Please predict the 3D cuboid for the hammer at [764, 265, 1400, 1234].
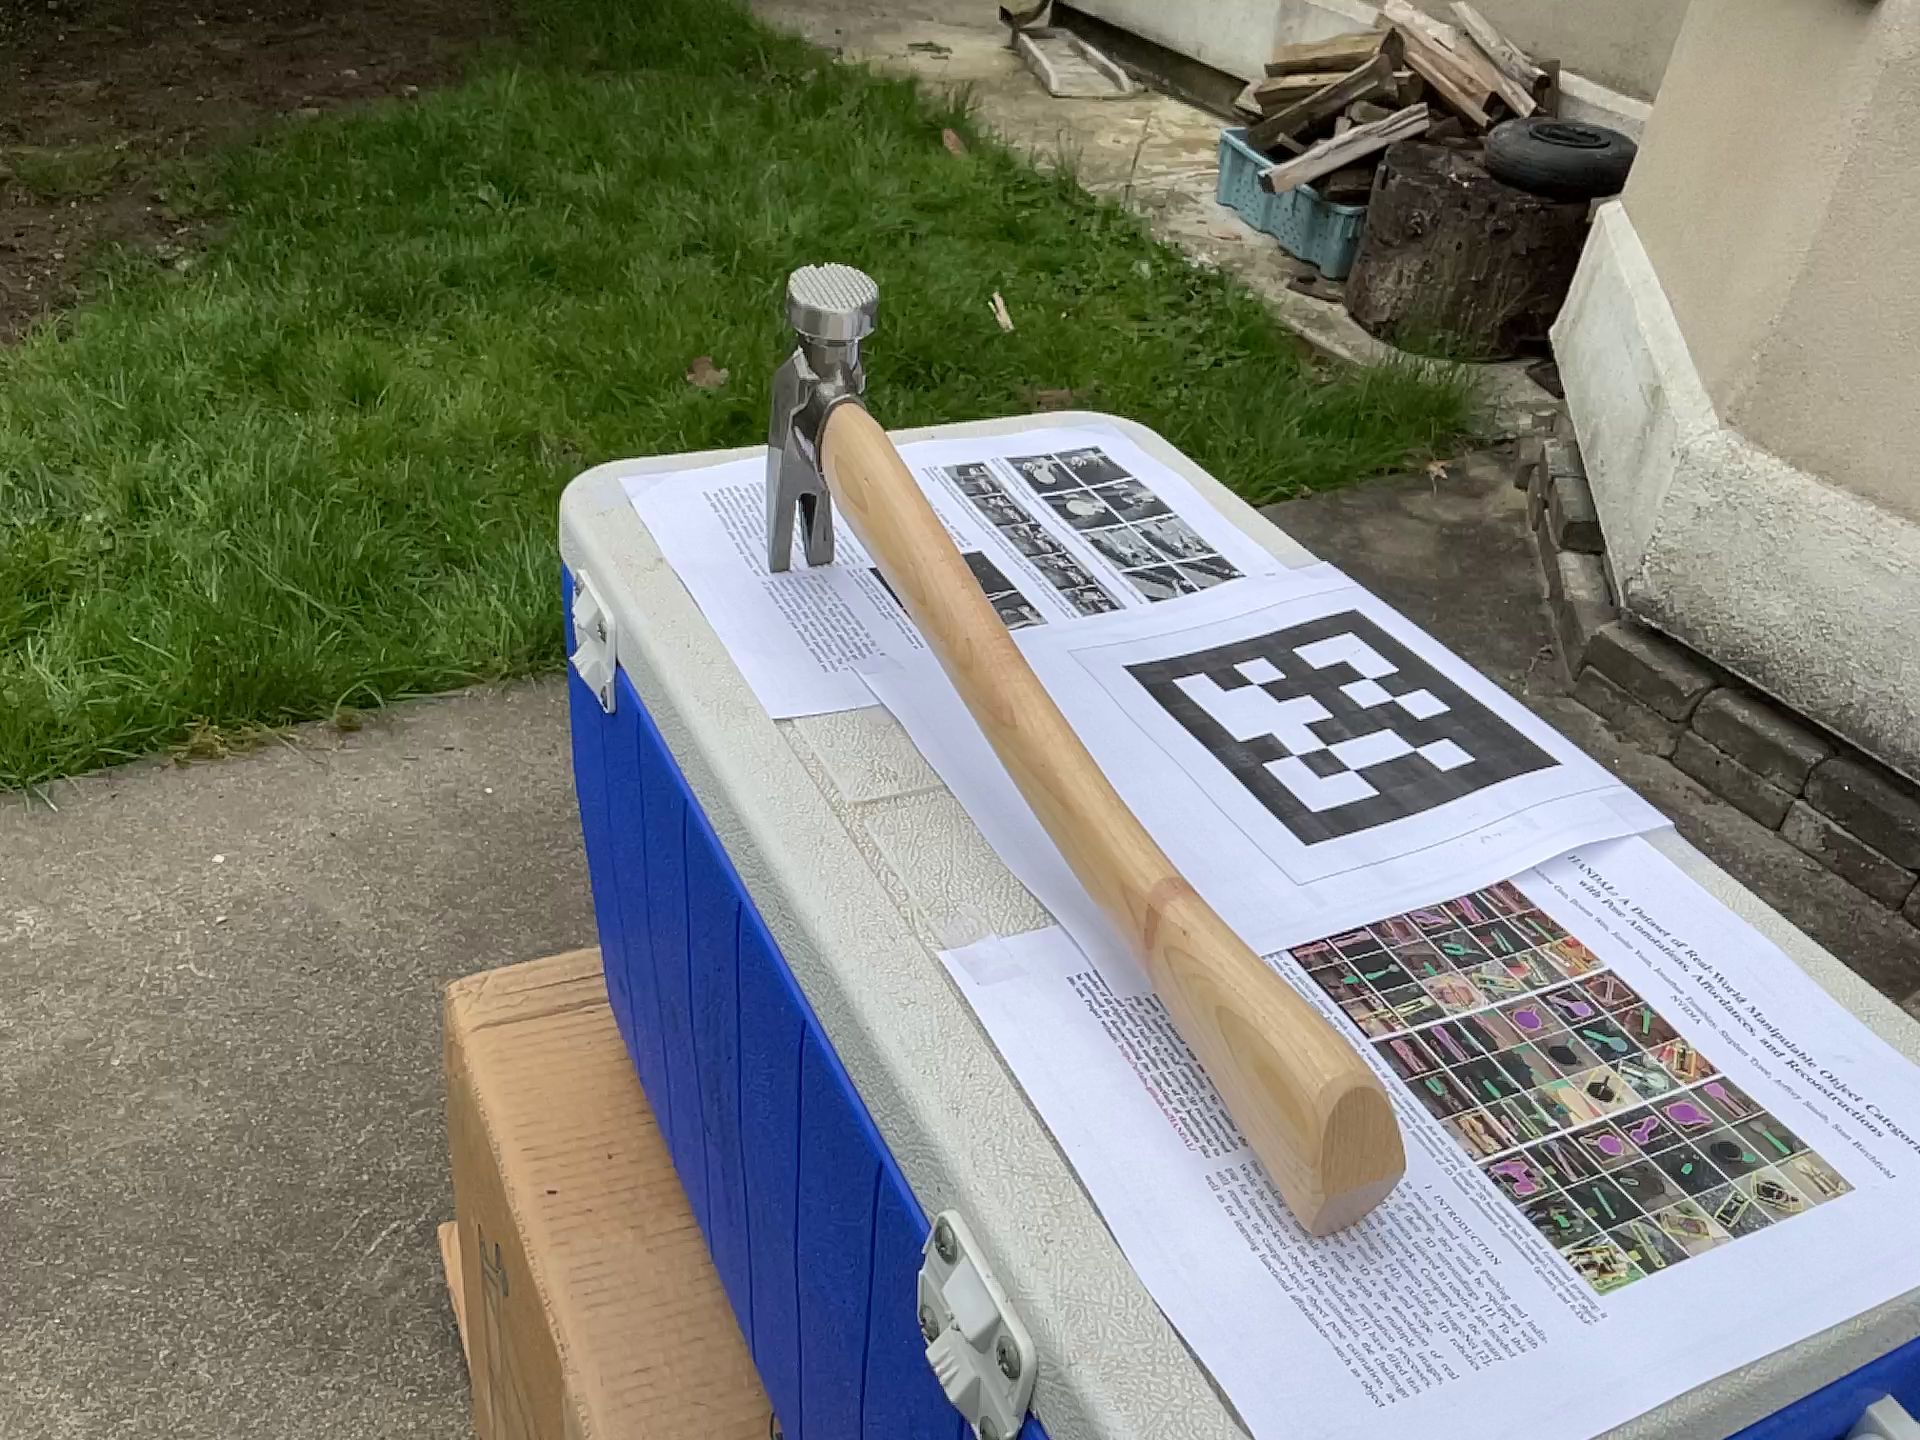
[{"bbox_3d":[0.018,0.003,0.573,0.038,0.146,0.411,-12,48,-24],"label":"hammer"}]
